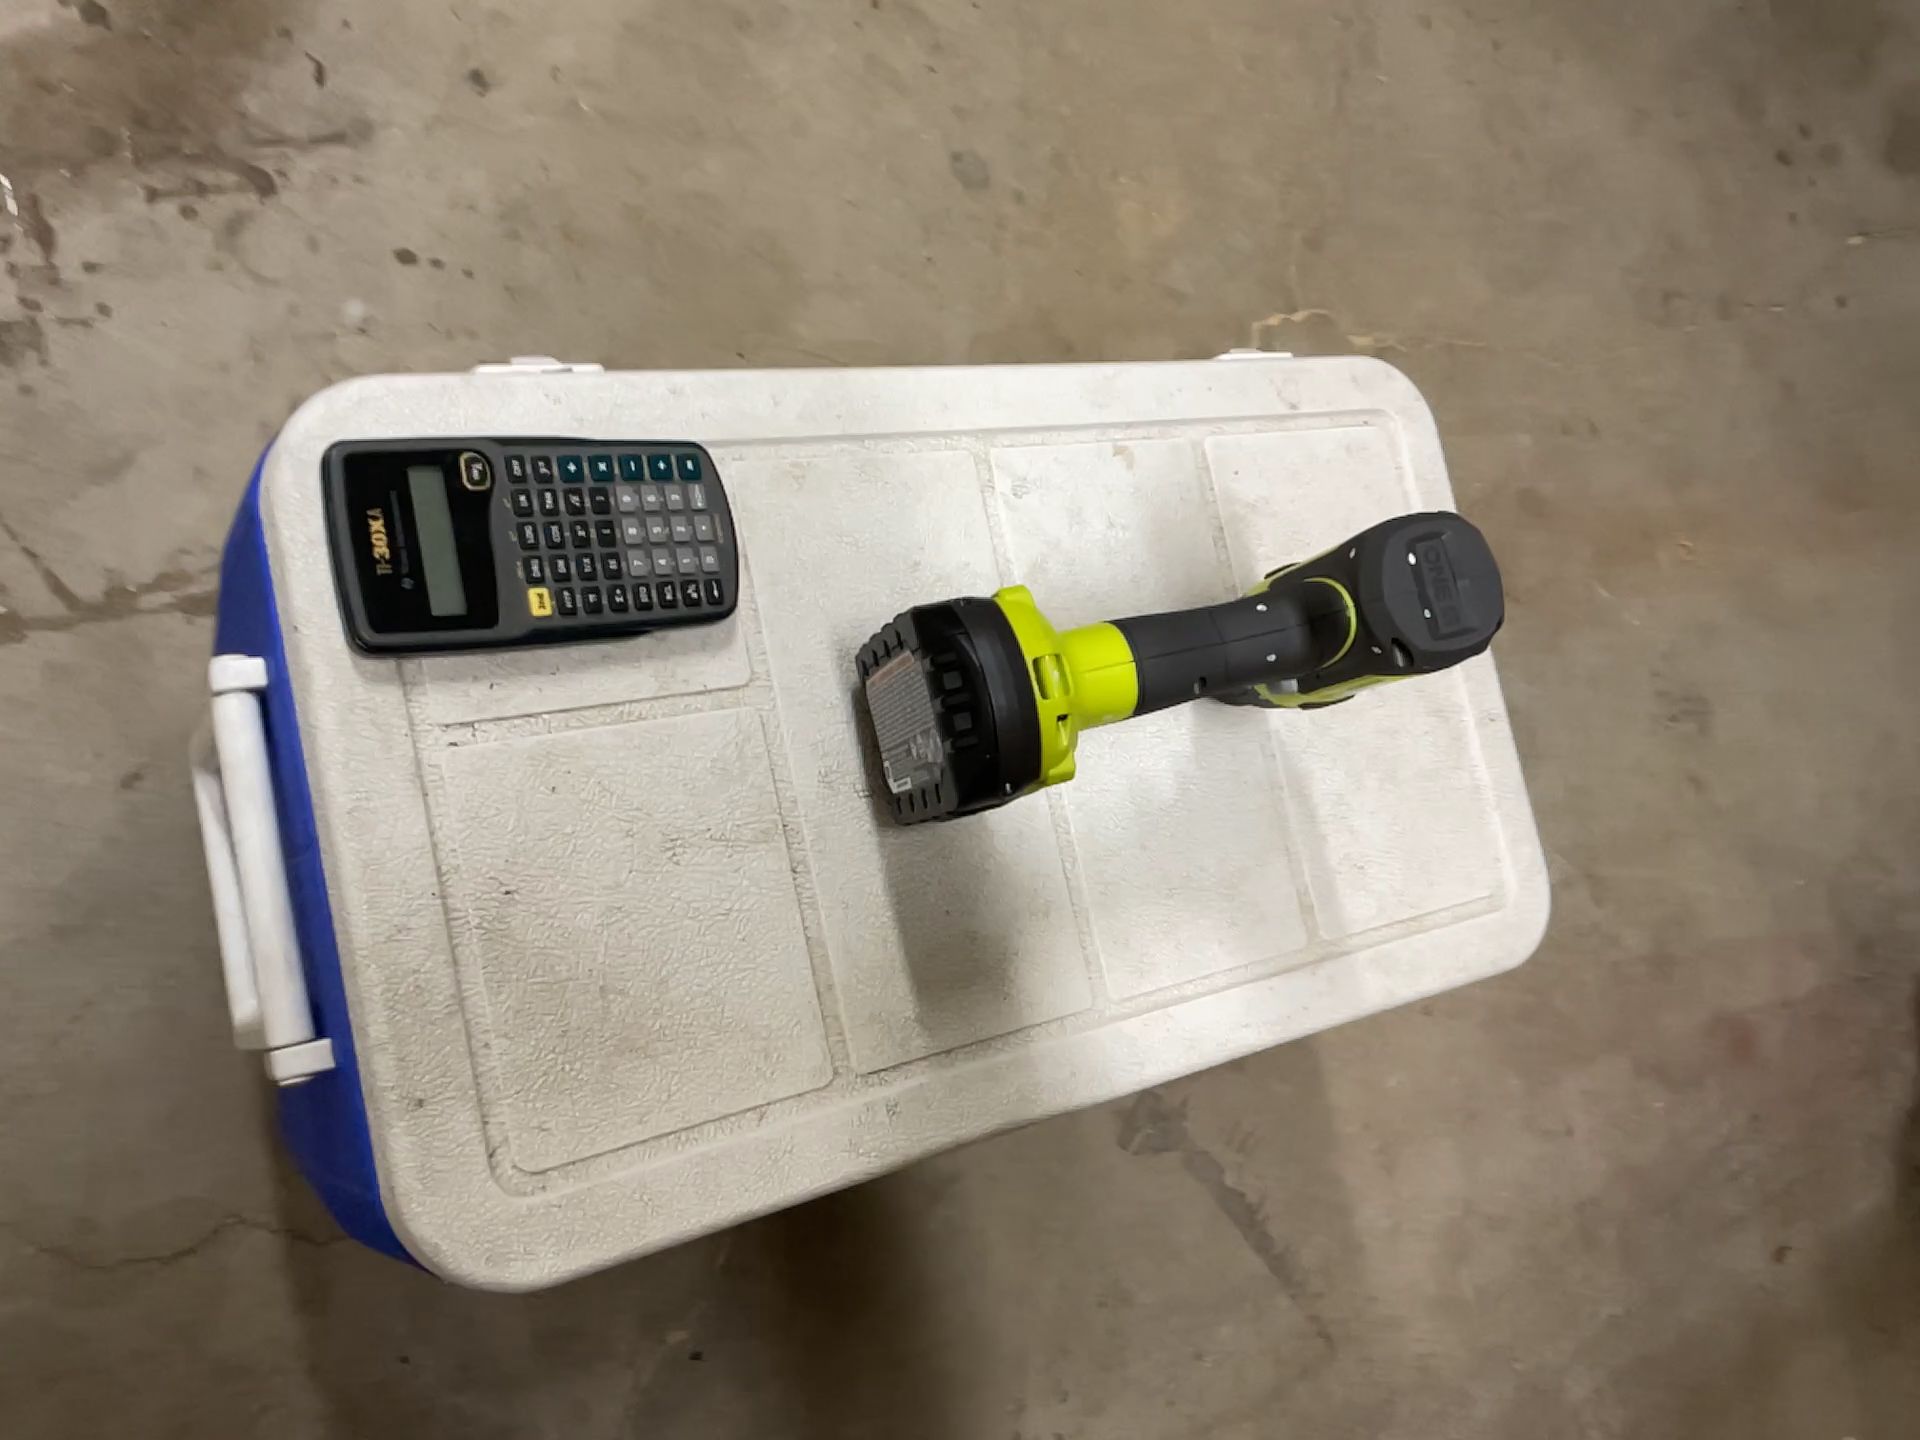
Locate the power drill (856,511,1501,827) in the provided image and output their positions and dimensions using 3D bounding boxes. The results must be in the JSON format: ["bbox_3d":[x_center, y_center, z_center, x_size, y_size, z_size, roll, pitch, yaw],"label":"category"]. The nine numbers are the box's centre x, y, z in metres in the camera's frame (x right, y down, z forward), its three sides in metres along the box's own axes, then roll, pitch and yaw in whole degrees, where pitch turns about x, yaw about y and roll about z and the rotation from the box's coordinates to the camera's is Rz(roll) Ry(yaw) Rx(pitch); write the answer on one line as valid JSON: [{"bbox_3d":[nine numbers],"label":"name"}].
[{"bbox_3d":[0.080,-0.020,0.664,0.229,0.190,0.080,-13,86,-18],"label":"power drill"}]
